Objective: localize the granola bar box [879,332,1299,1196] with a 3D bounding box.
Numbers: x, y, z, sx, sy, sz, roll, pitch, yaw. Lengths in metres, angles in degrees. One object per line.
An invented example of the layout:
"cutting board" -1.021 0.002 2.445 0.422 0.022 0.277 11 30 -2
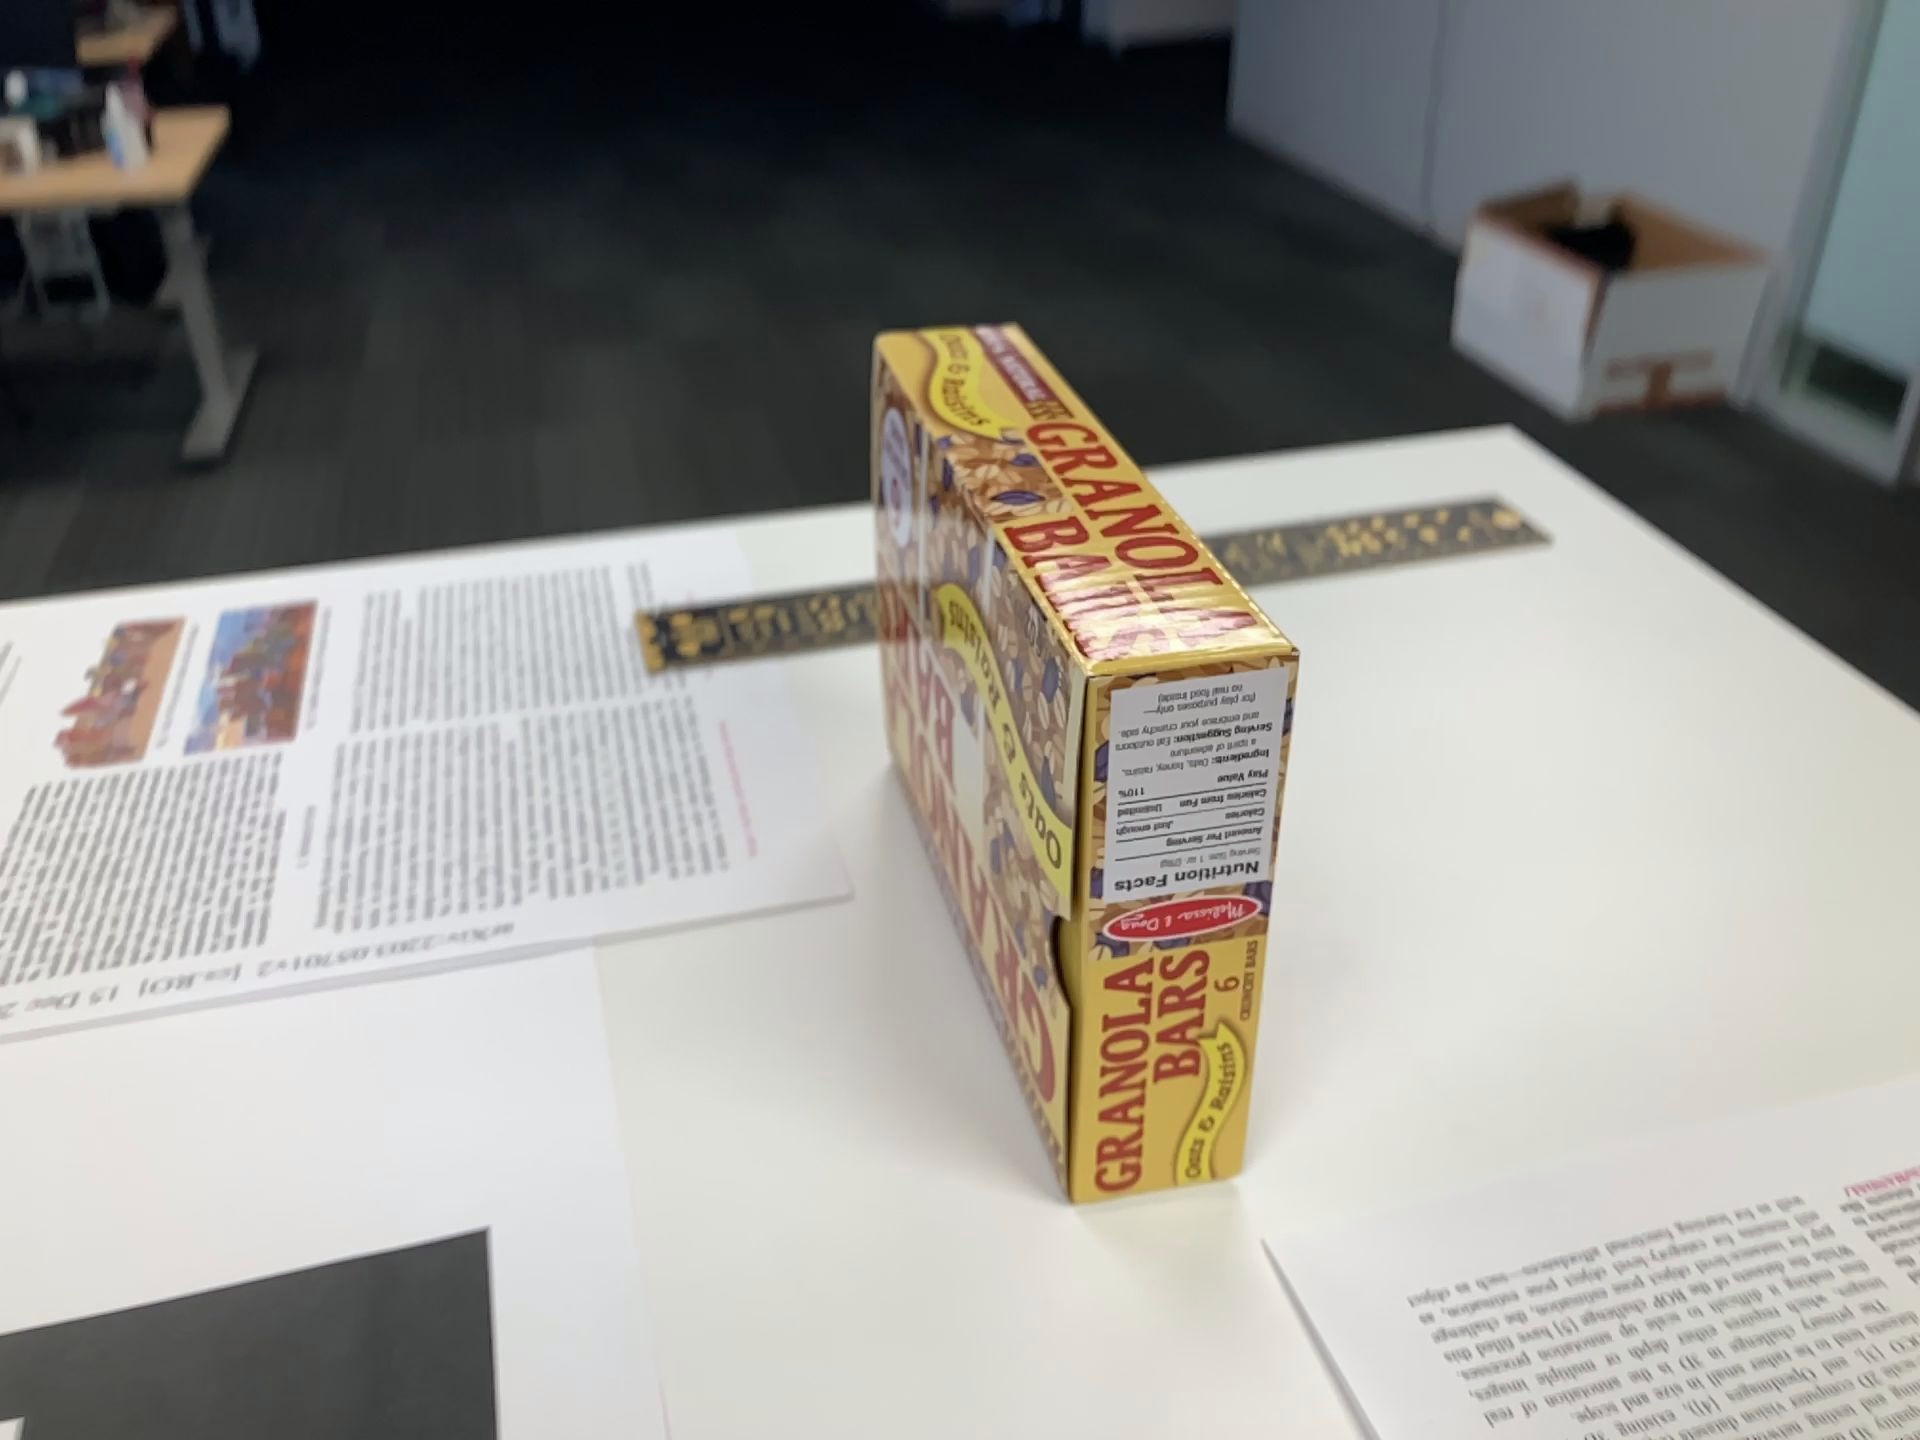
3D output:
"granola bar box" 0.018 0.000 0.357 0.039 0.124 0.165 -8 33 -12
